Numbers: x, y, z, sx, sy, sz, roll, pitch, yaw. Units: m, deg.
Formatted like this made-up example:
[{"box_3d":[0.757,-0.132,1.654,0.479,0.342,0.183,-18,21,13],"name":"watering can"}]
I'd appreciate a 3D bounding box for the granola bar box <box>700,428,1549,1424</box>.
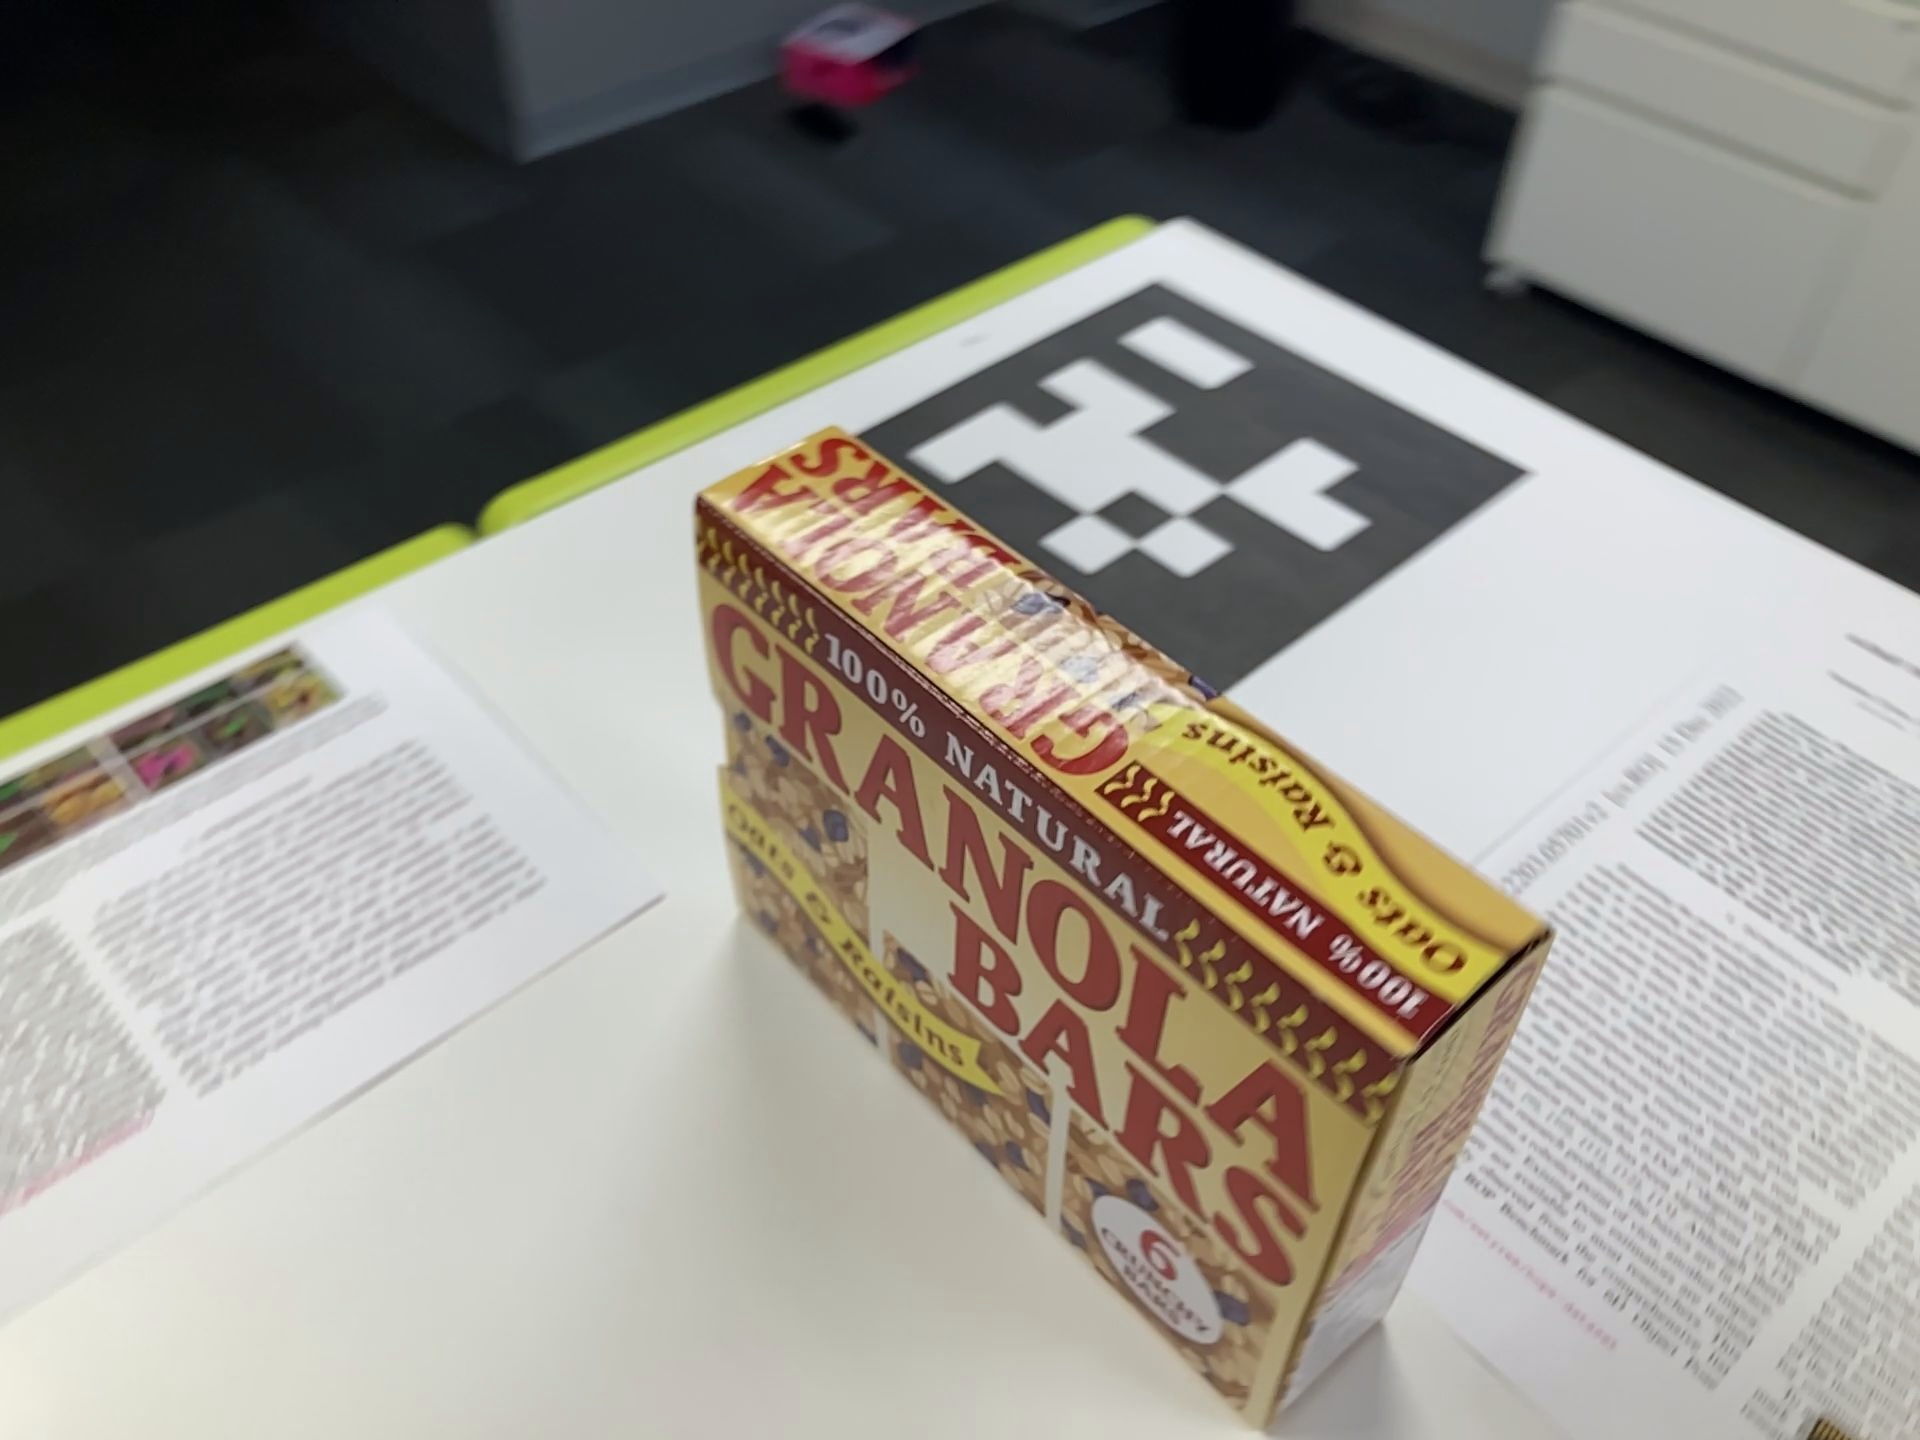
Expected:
[{"box_3d":[0.015,0.037,0.307,0.039,0.124,0.165,-31,53,-30],"name":"granola bar box"}]
